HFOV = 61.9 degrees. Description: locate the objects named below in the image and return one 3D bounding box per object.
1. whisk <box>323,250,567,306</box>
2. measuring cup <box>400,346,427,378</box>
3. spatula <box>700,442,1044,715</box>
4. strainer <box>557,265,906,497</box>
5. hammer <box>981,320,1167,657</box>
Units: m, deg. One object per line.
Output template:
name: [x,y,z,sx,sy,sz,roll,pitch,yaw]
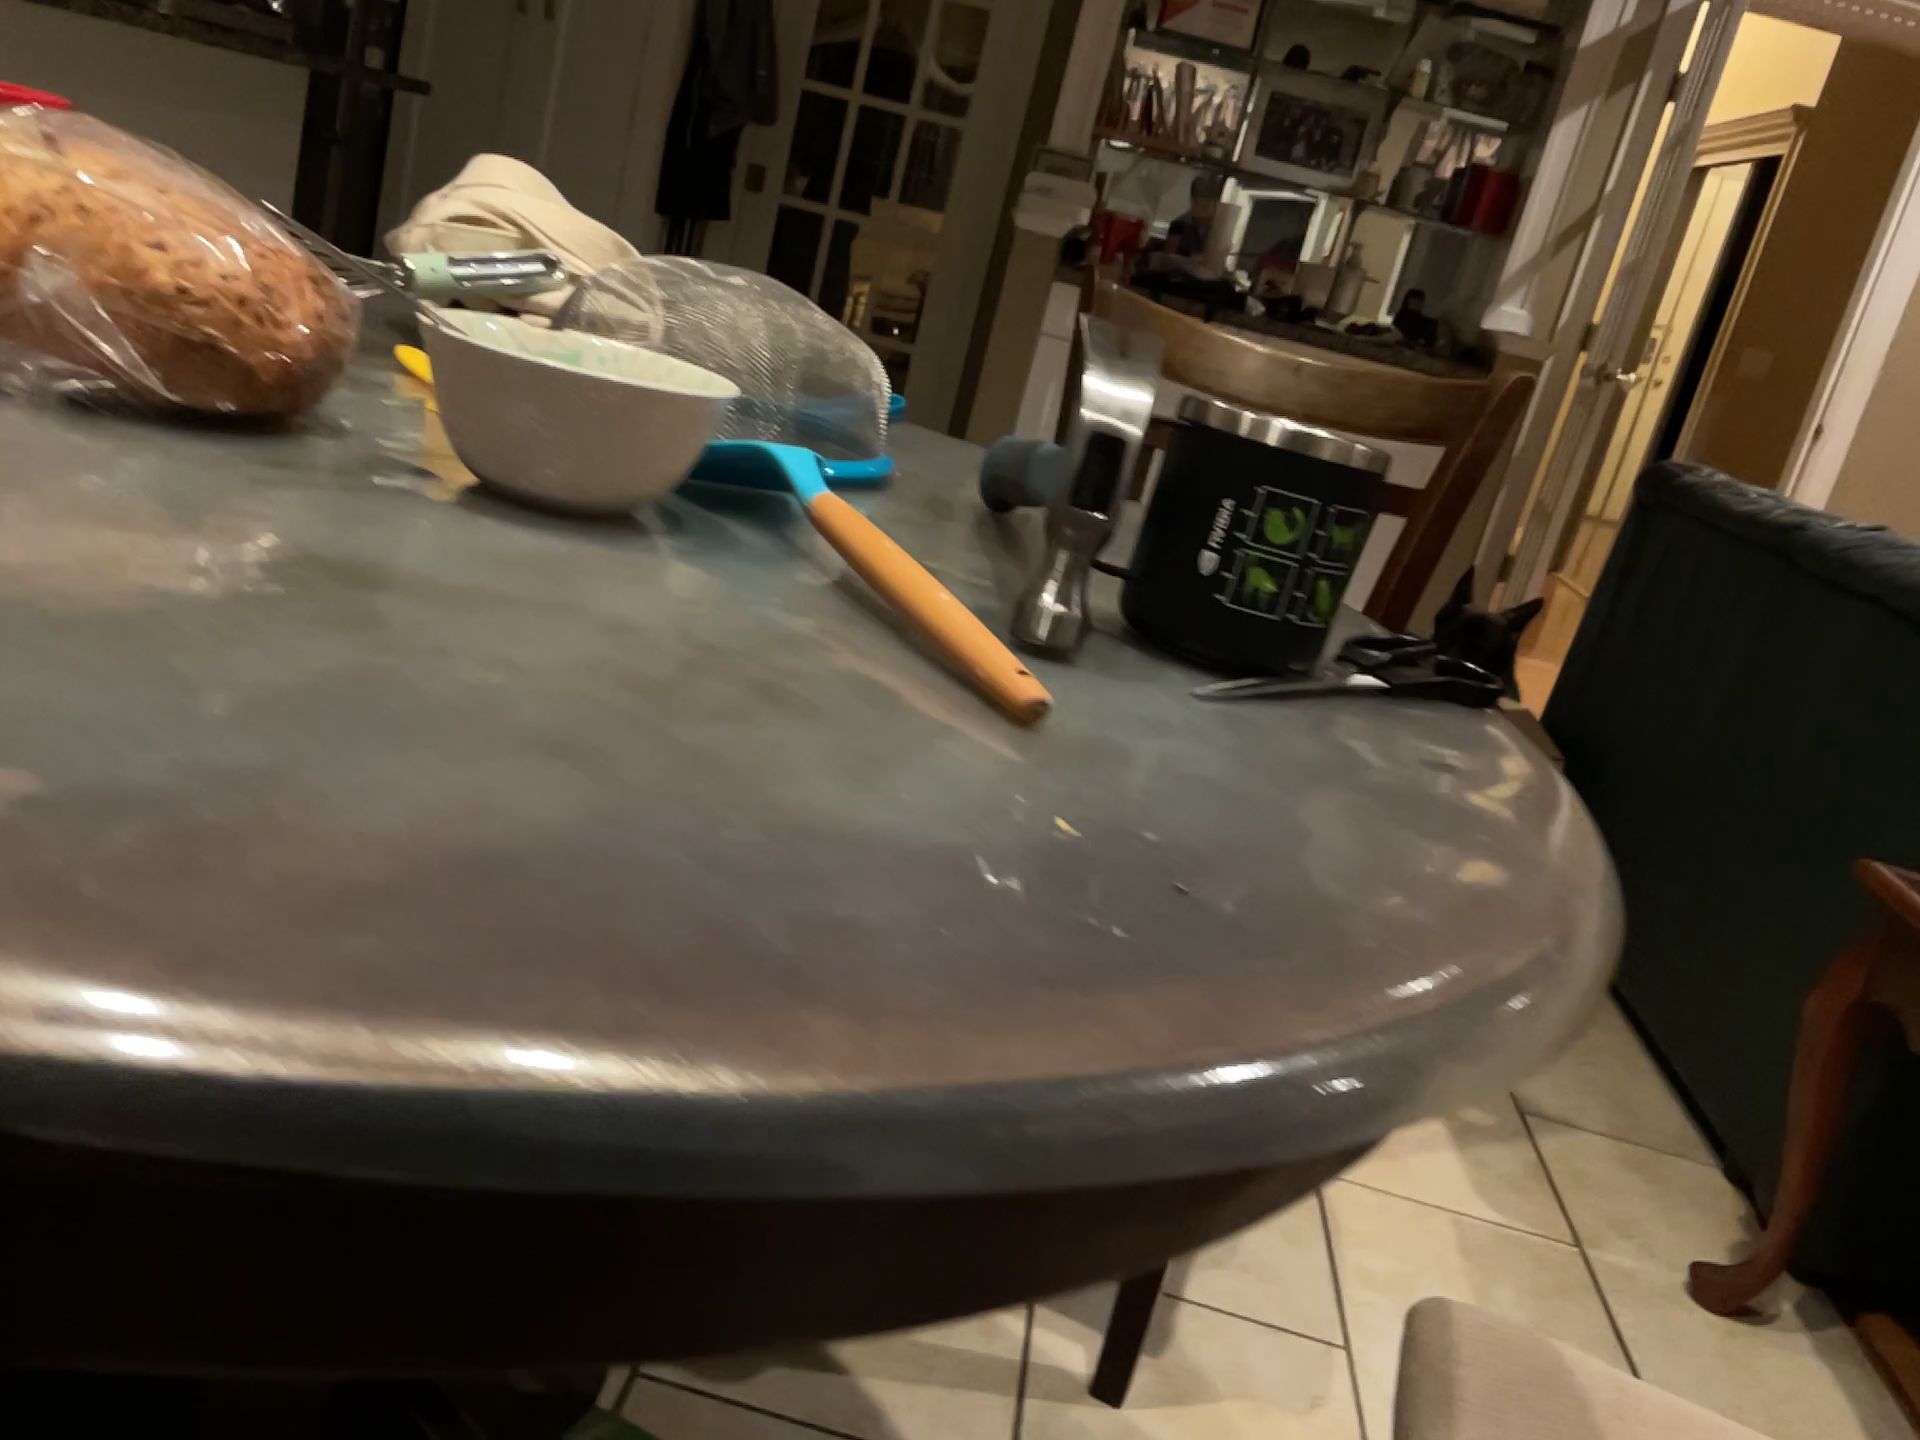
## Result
whisk: [-0.313,-0.246,0.887,0.059,0.058,0.246,-11,8,37]
measuring cup: [-0.249,-0.179,0.807,0.062,0.029,0.156,1,23,-40]
spatula: [-0.047,-0.066,0.639,0.082,0.044,0.318,6,23,-30]
strainer: [-0.105,-0.214,0.939,0.211,0.095,0.340,21,22,18]
hammer: [0.040,-0.111,0.749,0.033,0.128,0.331,16,7,-7]
